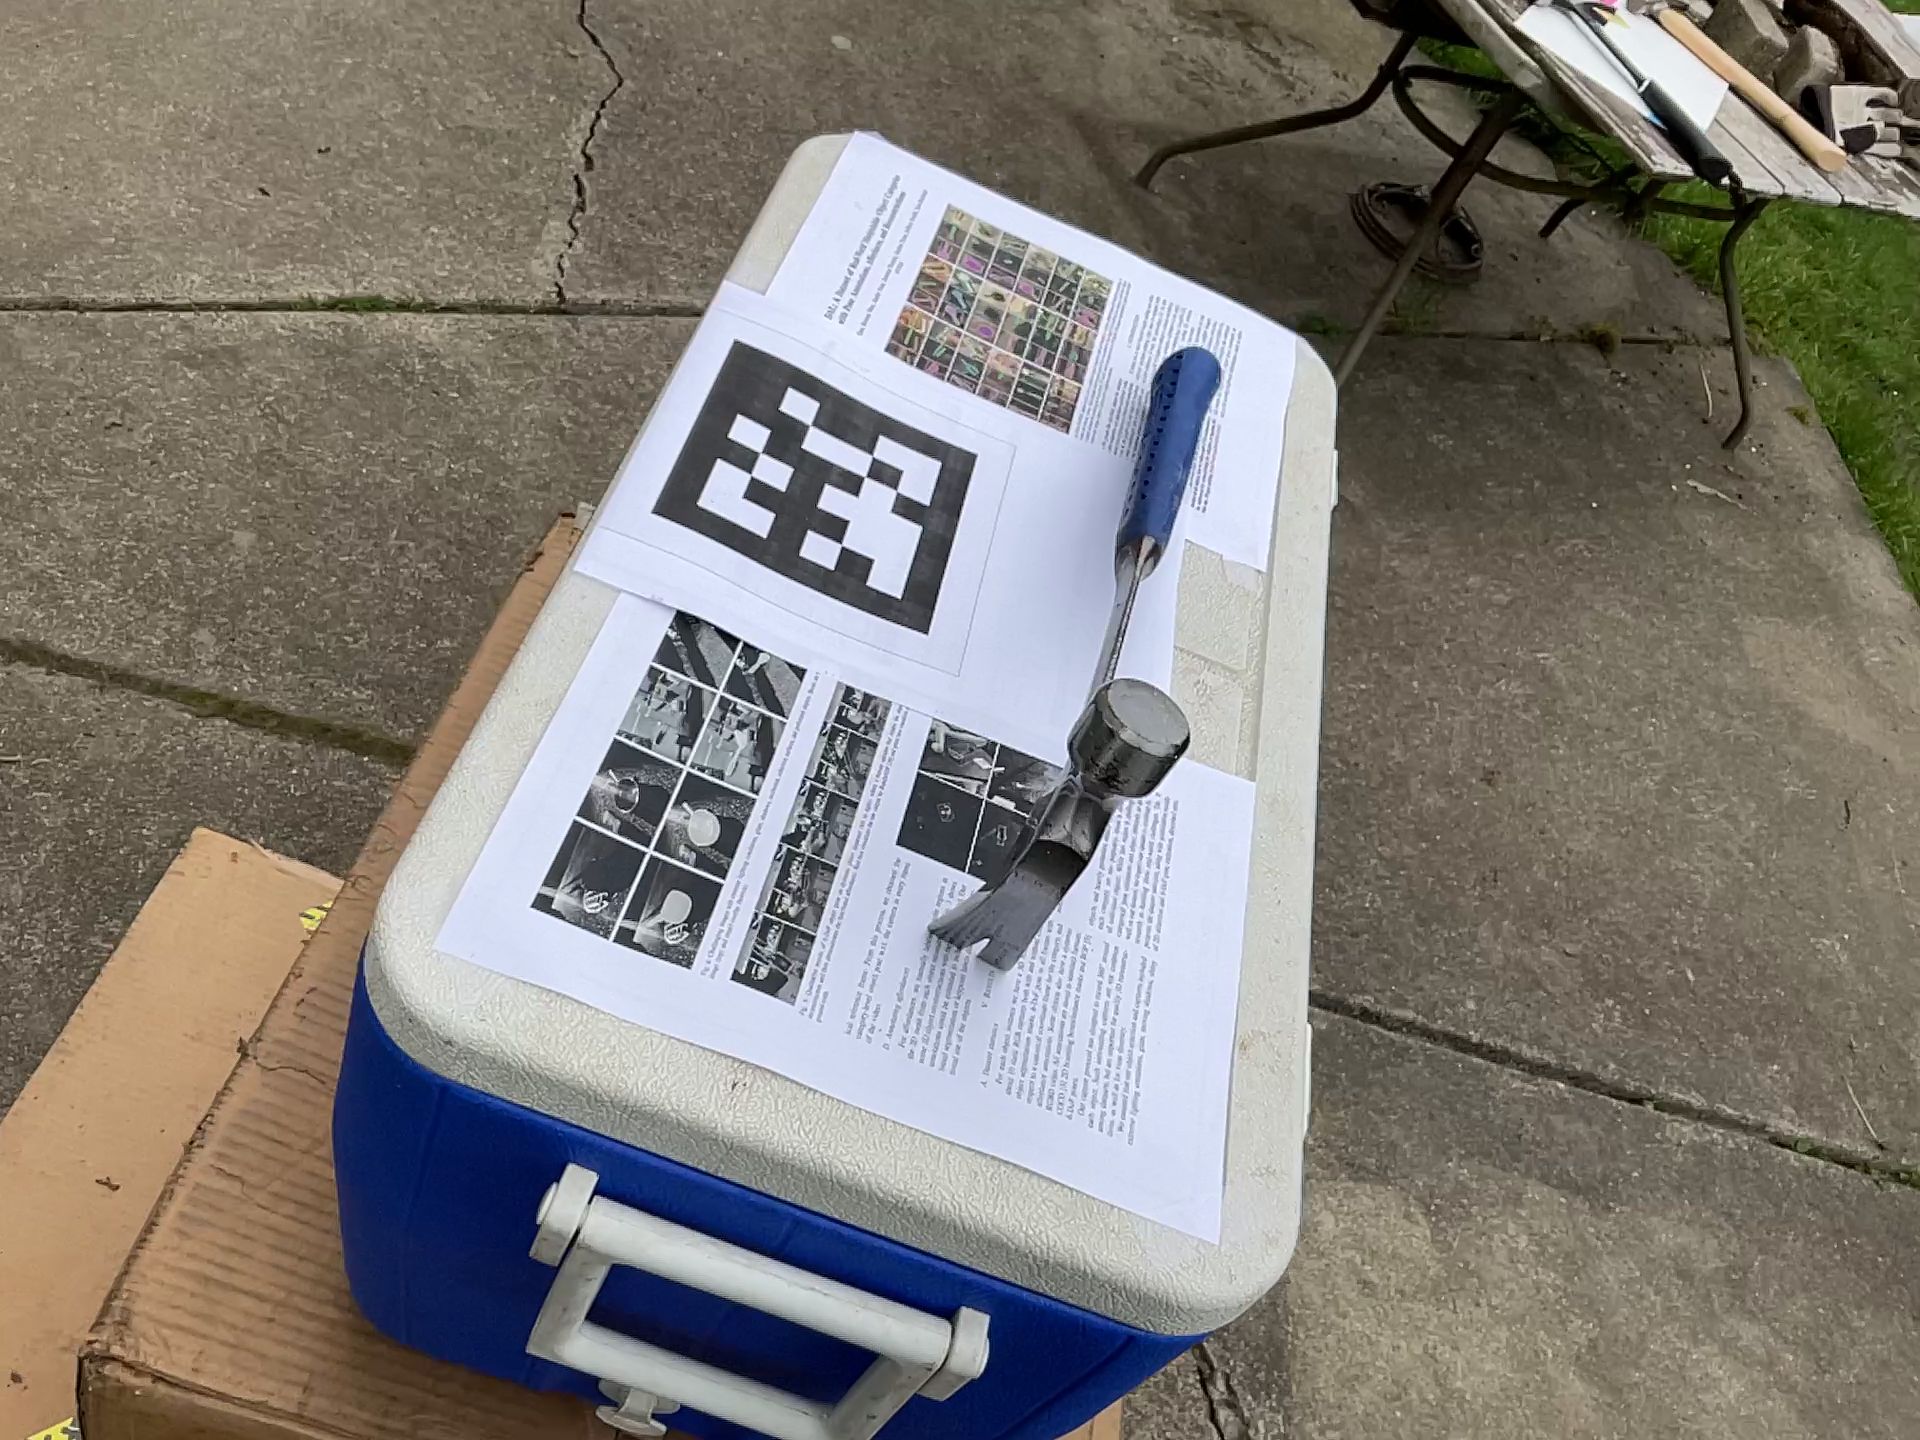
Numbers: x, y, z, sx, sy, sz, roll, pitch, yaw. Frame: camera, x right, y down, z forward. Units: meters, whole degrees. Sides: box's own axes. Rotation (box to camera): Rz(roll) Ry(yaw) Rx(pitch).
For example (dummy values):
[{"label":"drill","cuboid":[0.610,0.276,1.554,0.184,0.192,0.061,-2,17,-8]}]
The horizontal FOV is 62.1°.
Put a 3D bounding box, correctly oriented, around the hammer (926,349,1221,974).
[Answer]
[{"label":"hammer","cuboid":[0.070,-0.059,0.687,0.035,0.144,0.405,28,37,-5]}]
